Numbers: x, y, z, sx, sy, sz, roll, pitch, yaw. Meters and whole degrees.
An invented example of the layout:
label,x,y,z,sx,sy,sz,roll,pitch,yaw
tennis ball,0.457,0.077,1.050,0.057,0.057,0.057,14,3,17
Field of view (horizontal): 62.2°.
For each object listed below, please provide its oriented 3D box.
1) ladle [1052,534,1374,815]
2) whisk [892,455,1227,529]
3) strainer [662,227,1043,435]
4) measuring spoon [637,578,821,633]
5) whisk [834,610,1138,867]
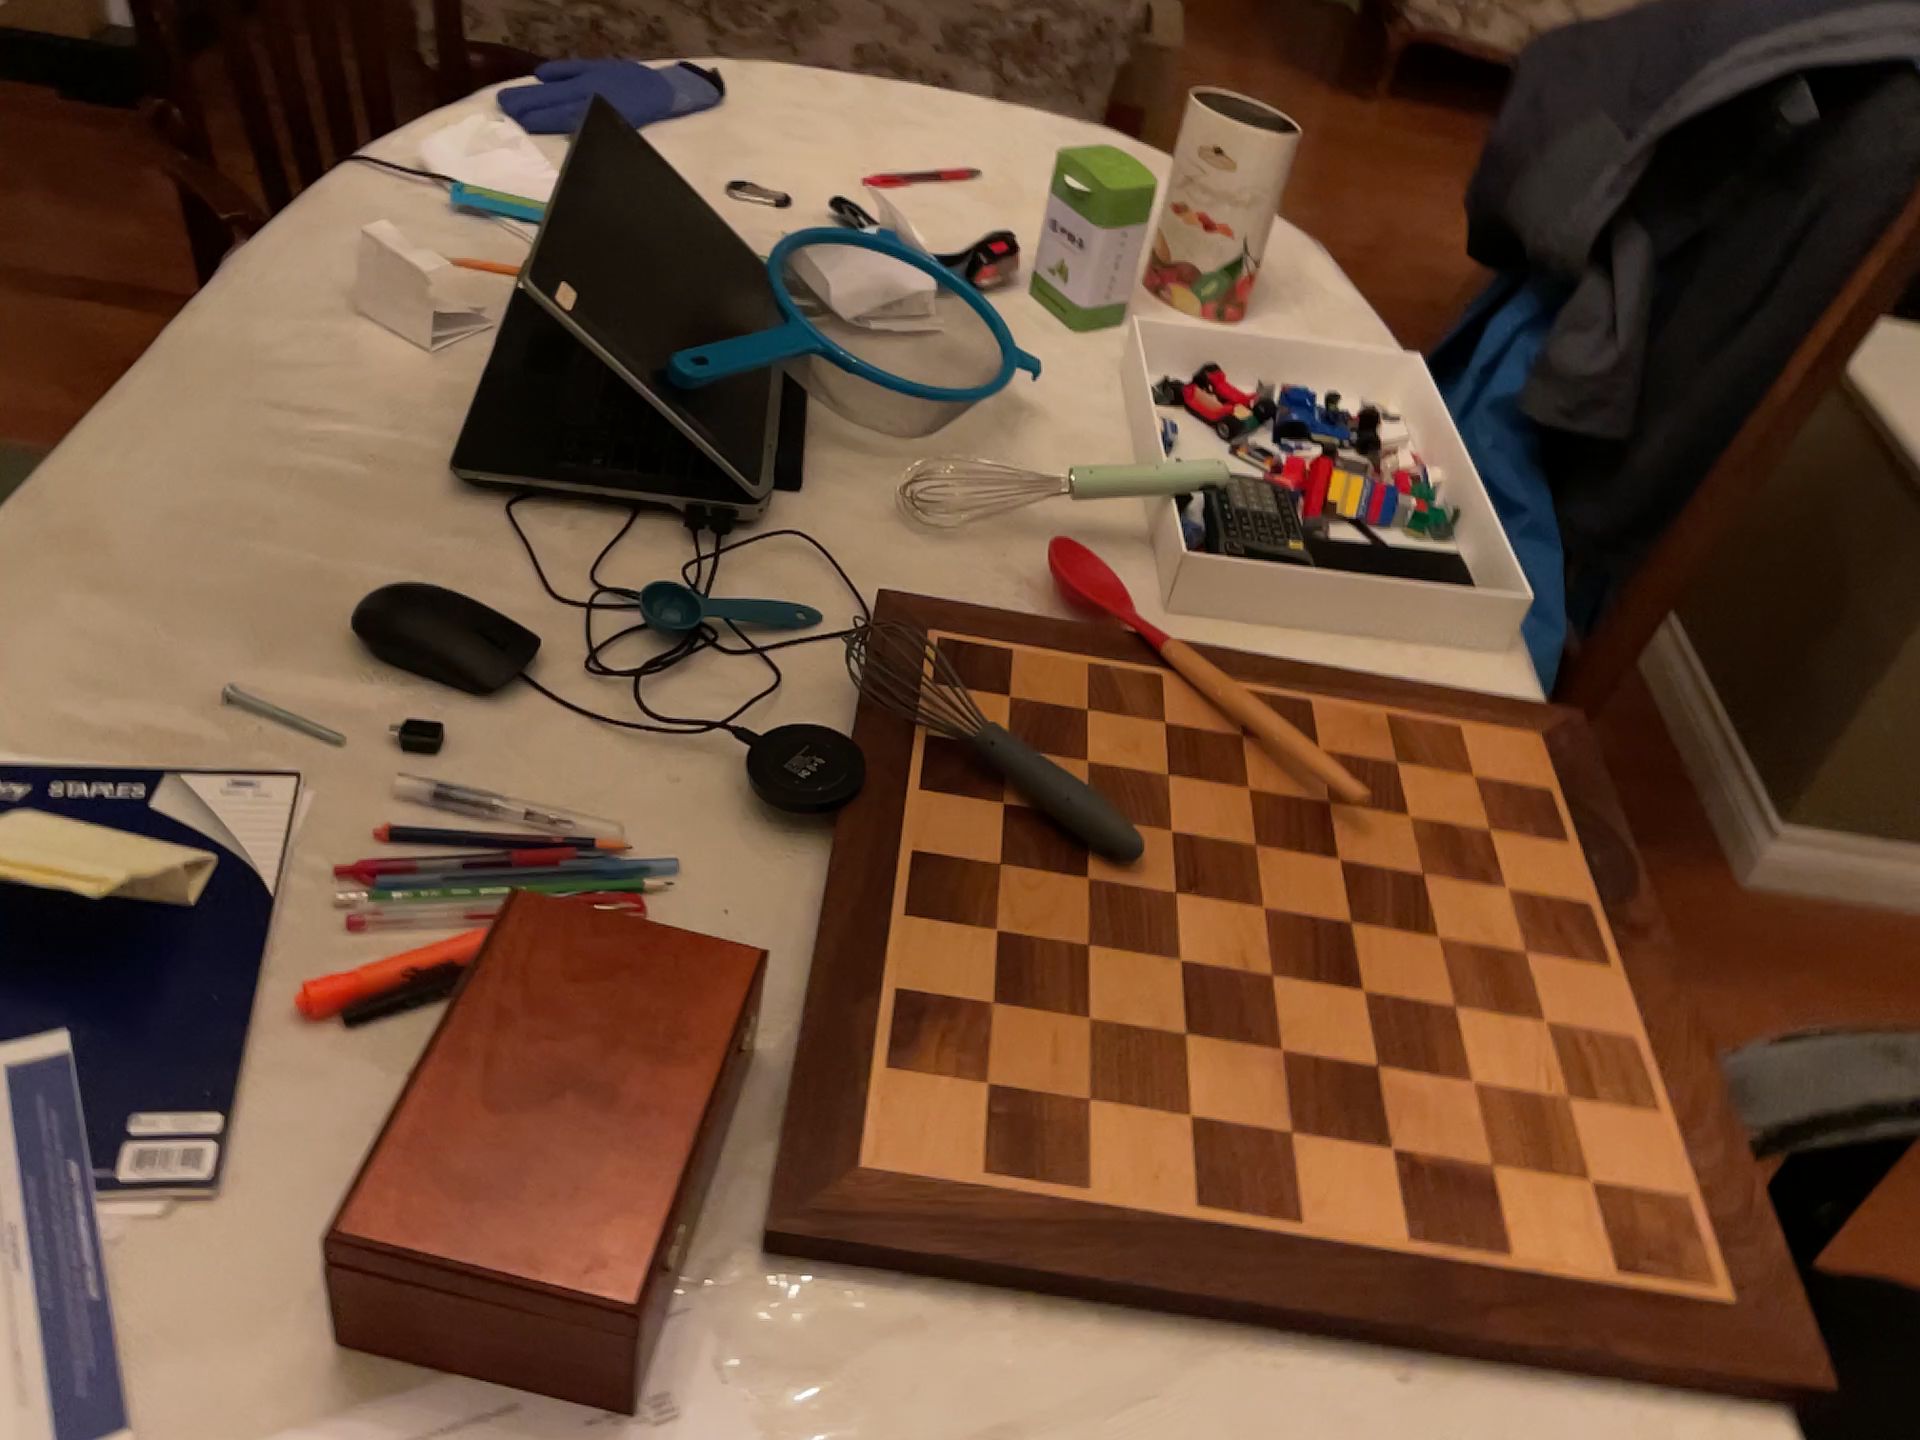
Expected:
label,x,y,z,sx,sy,sz,roll,pitch,yaw
ladle,0.158,-0.034,1.049,0.069,0.031,0.316,5,30,-43
whisk,0.072,-0.173,1.168,0.246,0.057,0.059,-3,71,2
strainer,-0.106,-0.270,1.222,0.211,0.095,0.340,44,43,15
measuring spoon,-0.152,-0.069,1.046,0.128,0.021,0.042,1,47,-32
whisk,0.013,0.012,0.950,0.239,0.055,0.055,39,60,23
